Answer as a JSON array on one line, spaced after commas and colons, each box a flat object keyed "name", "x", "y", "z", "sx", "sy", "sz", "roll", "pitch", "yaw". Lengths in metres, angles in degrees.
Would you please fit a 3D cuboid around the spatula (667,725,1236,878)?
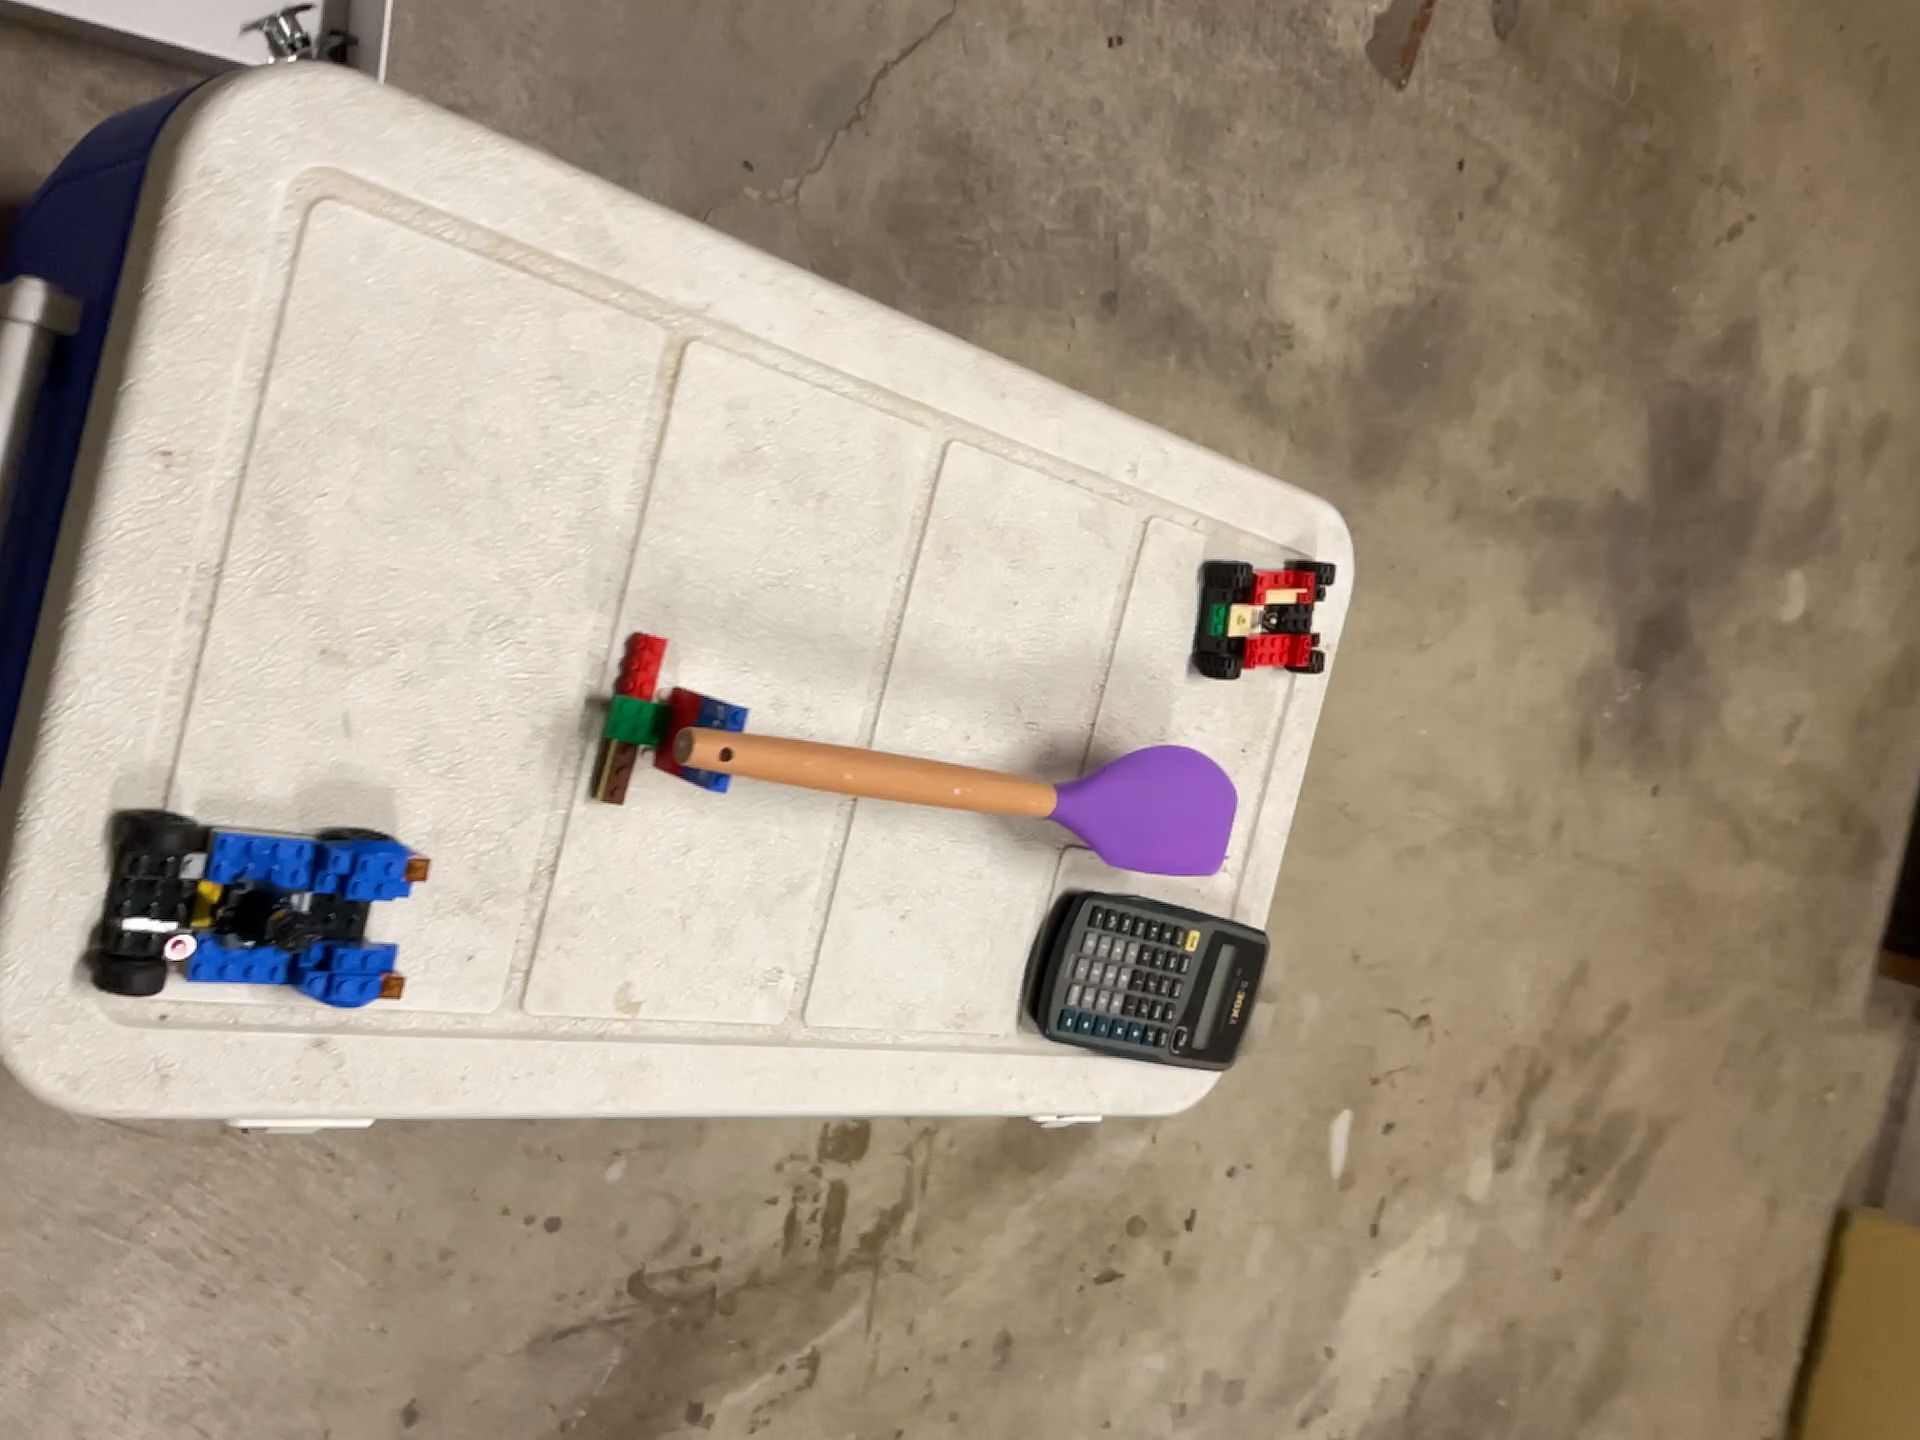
[{"name": "spatula", "x": 0.016, "y": 0.027, "z": 0.648, "sx": 0.316, "sy": 0.018, "sz": 0.060, "roll": 10, "pitch": 94, "yaw": -44}]
